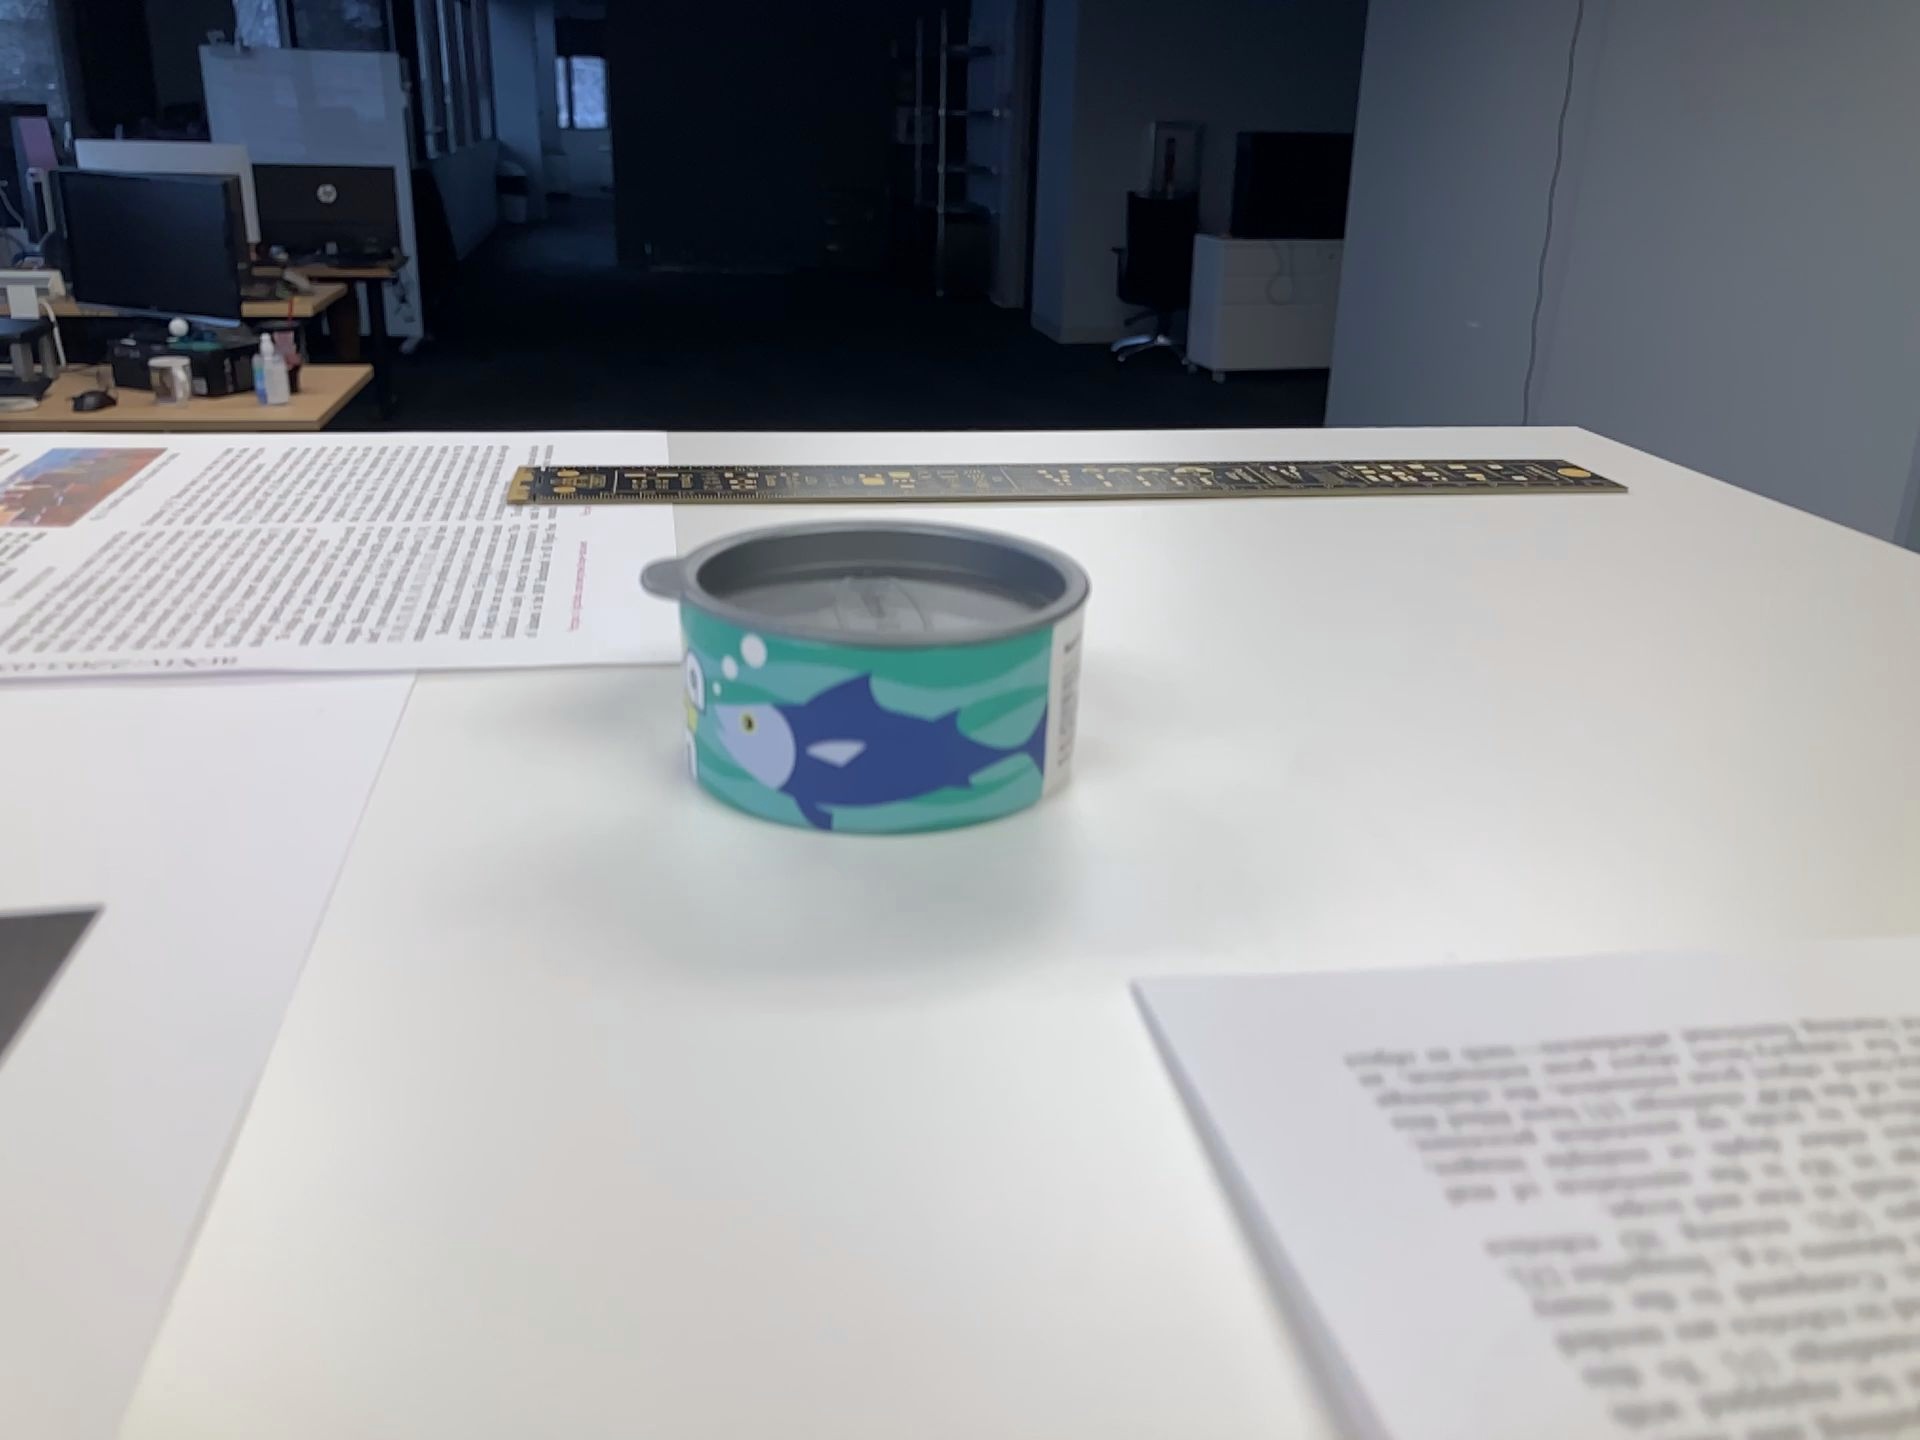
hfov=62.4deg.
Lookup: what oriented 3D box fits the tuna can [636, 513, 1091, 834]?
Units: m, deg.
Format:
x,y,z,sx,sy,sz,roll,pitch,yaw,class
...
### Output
x,y,z,sx,sy,sz,roll,pitch,yaw,class
-0.015,-0.009,0.255,0.071,0.033,0.071,1,22,-1,tuna can
